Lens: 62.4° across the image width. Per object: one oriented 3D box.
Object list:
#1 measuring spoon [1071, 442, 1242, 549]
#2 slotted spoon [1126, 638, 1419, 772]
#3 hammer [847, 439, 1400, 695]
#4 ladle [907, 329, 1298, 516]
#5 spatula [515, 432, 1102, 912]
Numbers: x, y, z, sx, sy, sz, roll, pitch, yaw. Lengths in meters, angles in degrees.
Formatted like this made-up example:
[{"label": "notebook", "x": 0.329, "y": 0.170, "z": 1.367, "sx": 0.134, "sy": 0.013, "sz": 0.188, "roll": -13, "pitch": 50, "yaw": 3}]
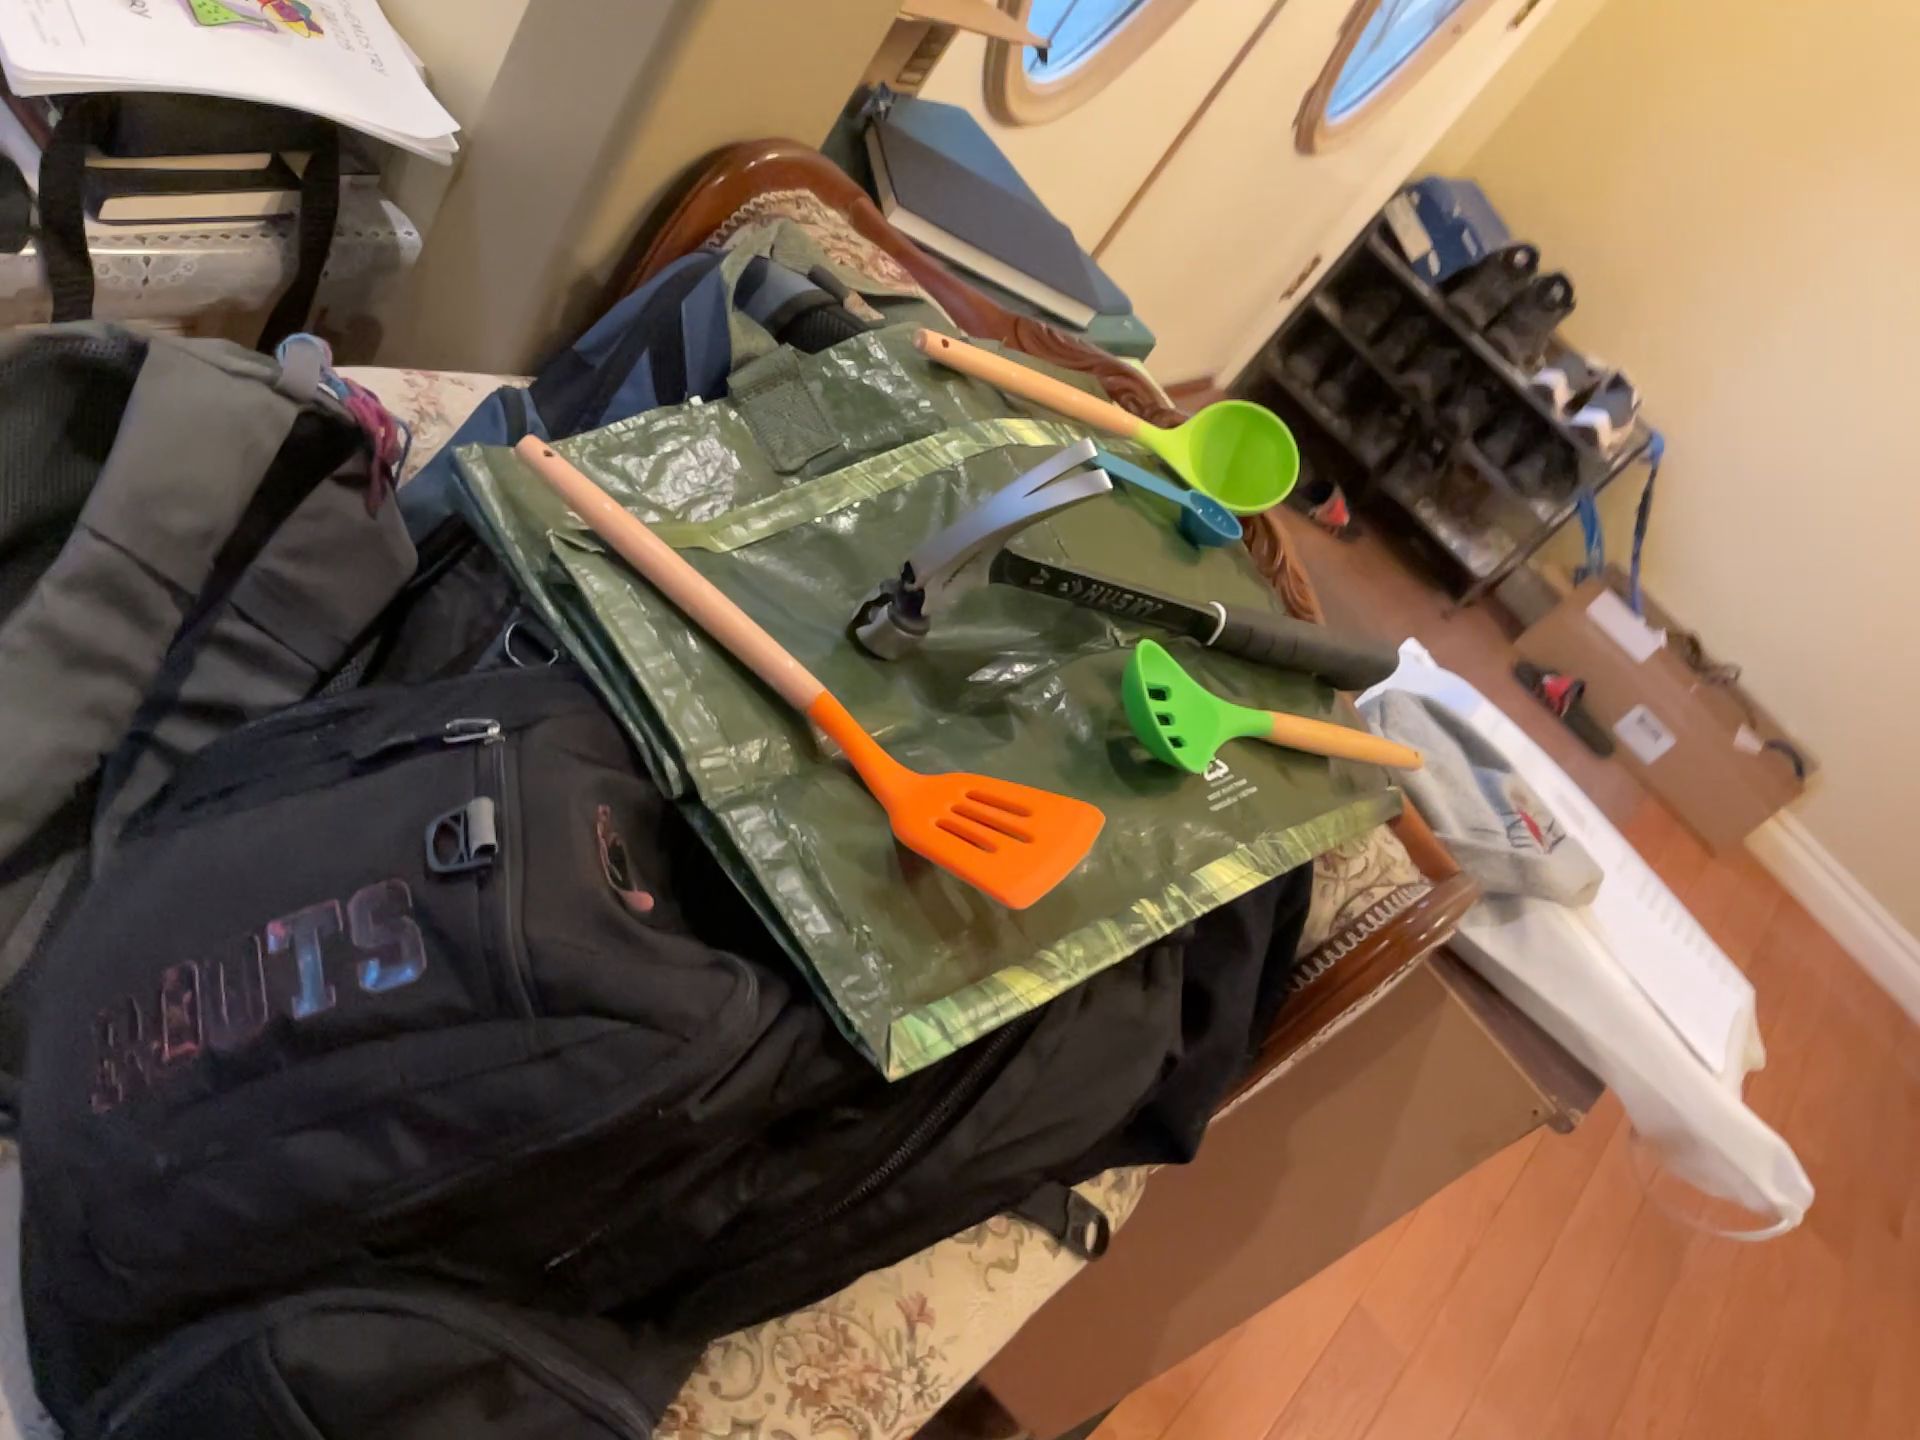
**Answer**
[{"label": "measuring spoon", "x": 0.113, "y": -0.132, "z": 0.948, "sx": 0.128, "sy": 0.021, "sz": 0.042, "roll": 21, "pitch": 36, "yaw": -26}, {"label": "slotted spoon", "x": 0.180, "y": 0.008, "z": 0.876, "sx": 0.313, "sy": 0.031, "sz": 0.070, "roll": 11, "pitch": 58, "yaw": -48}, {"label": "hammer", "x": 0.132, "y": -0.059, "z": 0.882, "sx": 0.408, "sy": 0.149, "sz": 0.036, "roll": 9, "pitch": 53, "yaw": -46}, {"label": "ladle", "x": 0.095, "y": -0.186, "z": 0.956, "sx": 0.319, "sy": 0.062, "sz": 0.078, "roll": 11, "pitch": 69, "yaw": -45}, {"label": "spatula", "x": -0.080, "y": -0.030, "z": 0.710, "sx": 0.323, "sy": 0.041, "sz": 0.081, "roll": 41, "pitch": 42, "yaw": 8}]
